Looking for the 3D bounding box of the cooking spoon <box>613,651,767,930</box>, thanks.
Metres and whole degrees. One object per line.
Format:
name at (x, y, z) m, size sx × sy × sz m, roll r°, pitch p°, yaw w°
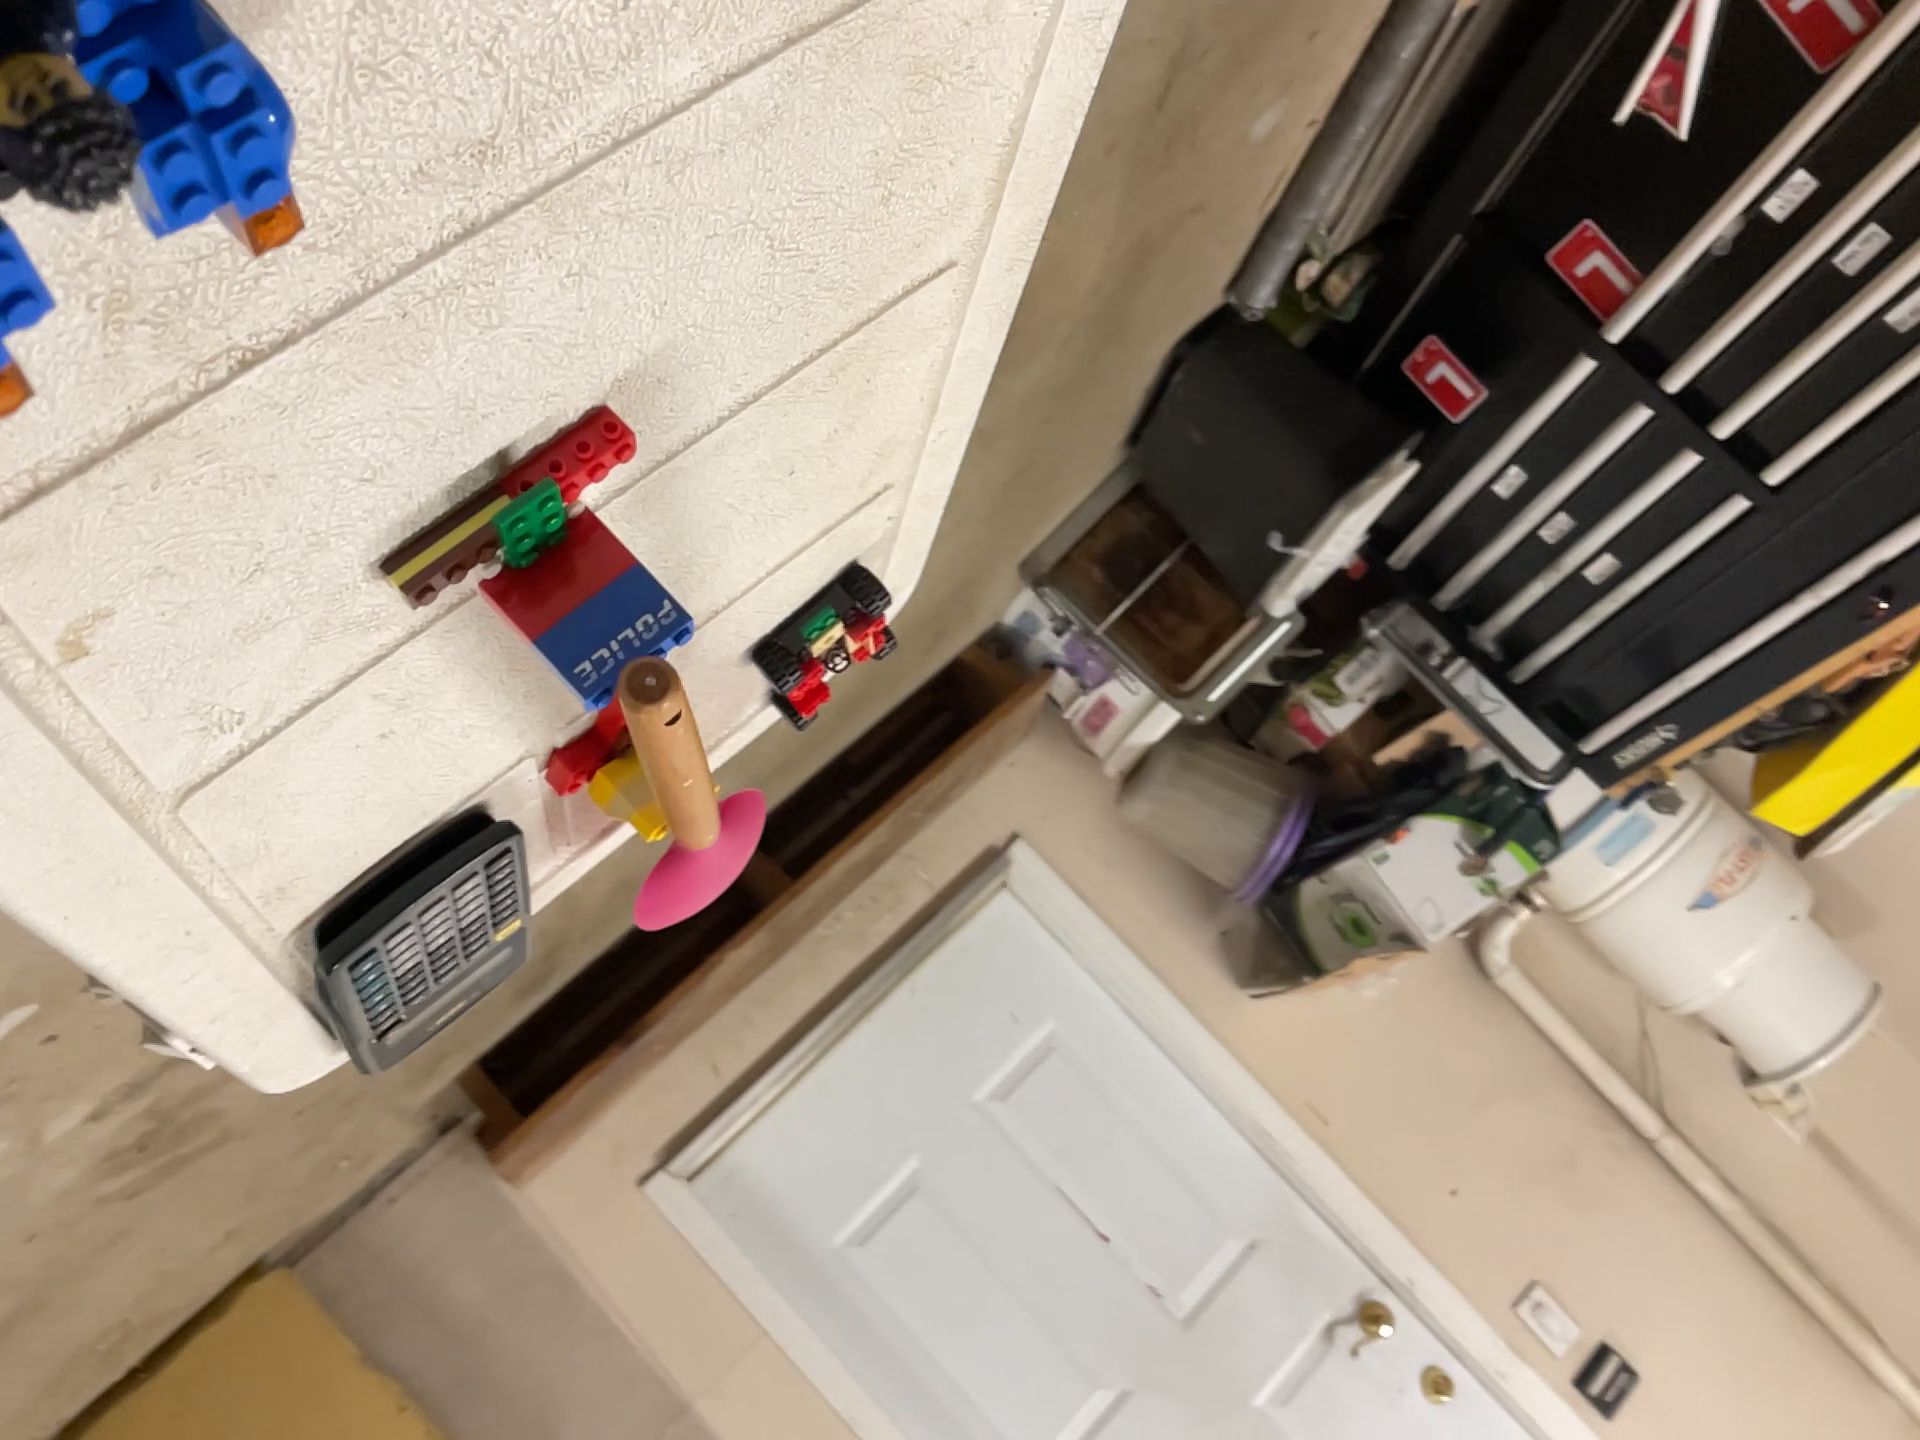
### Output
cooking spoon at (-0.086, 0.030, 0.510) m, size 0.069 × 0.017 × 0.318 m, roll -46°, pitch 174°, yaw -14°
